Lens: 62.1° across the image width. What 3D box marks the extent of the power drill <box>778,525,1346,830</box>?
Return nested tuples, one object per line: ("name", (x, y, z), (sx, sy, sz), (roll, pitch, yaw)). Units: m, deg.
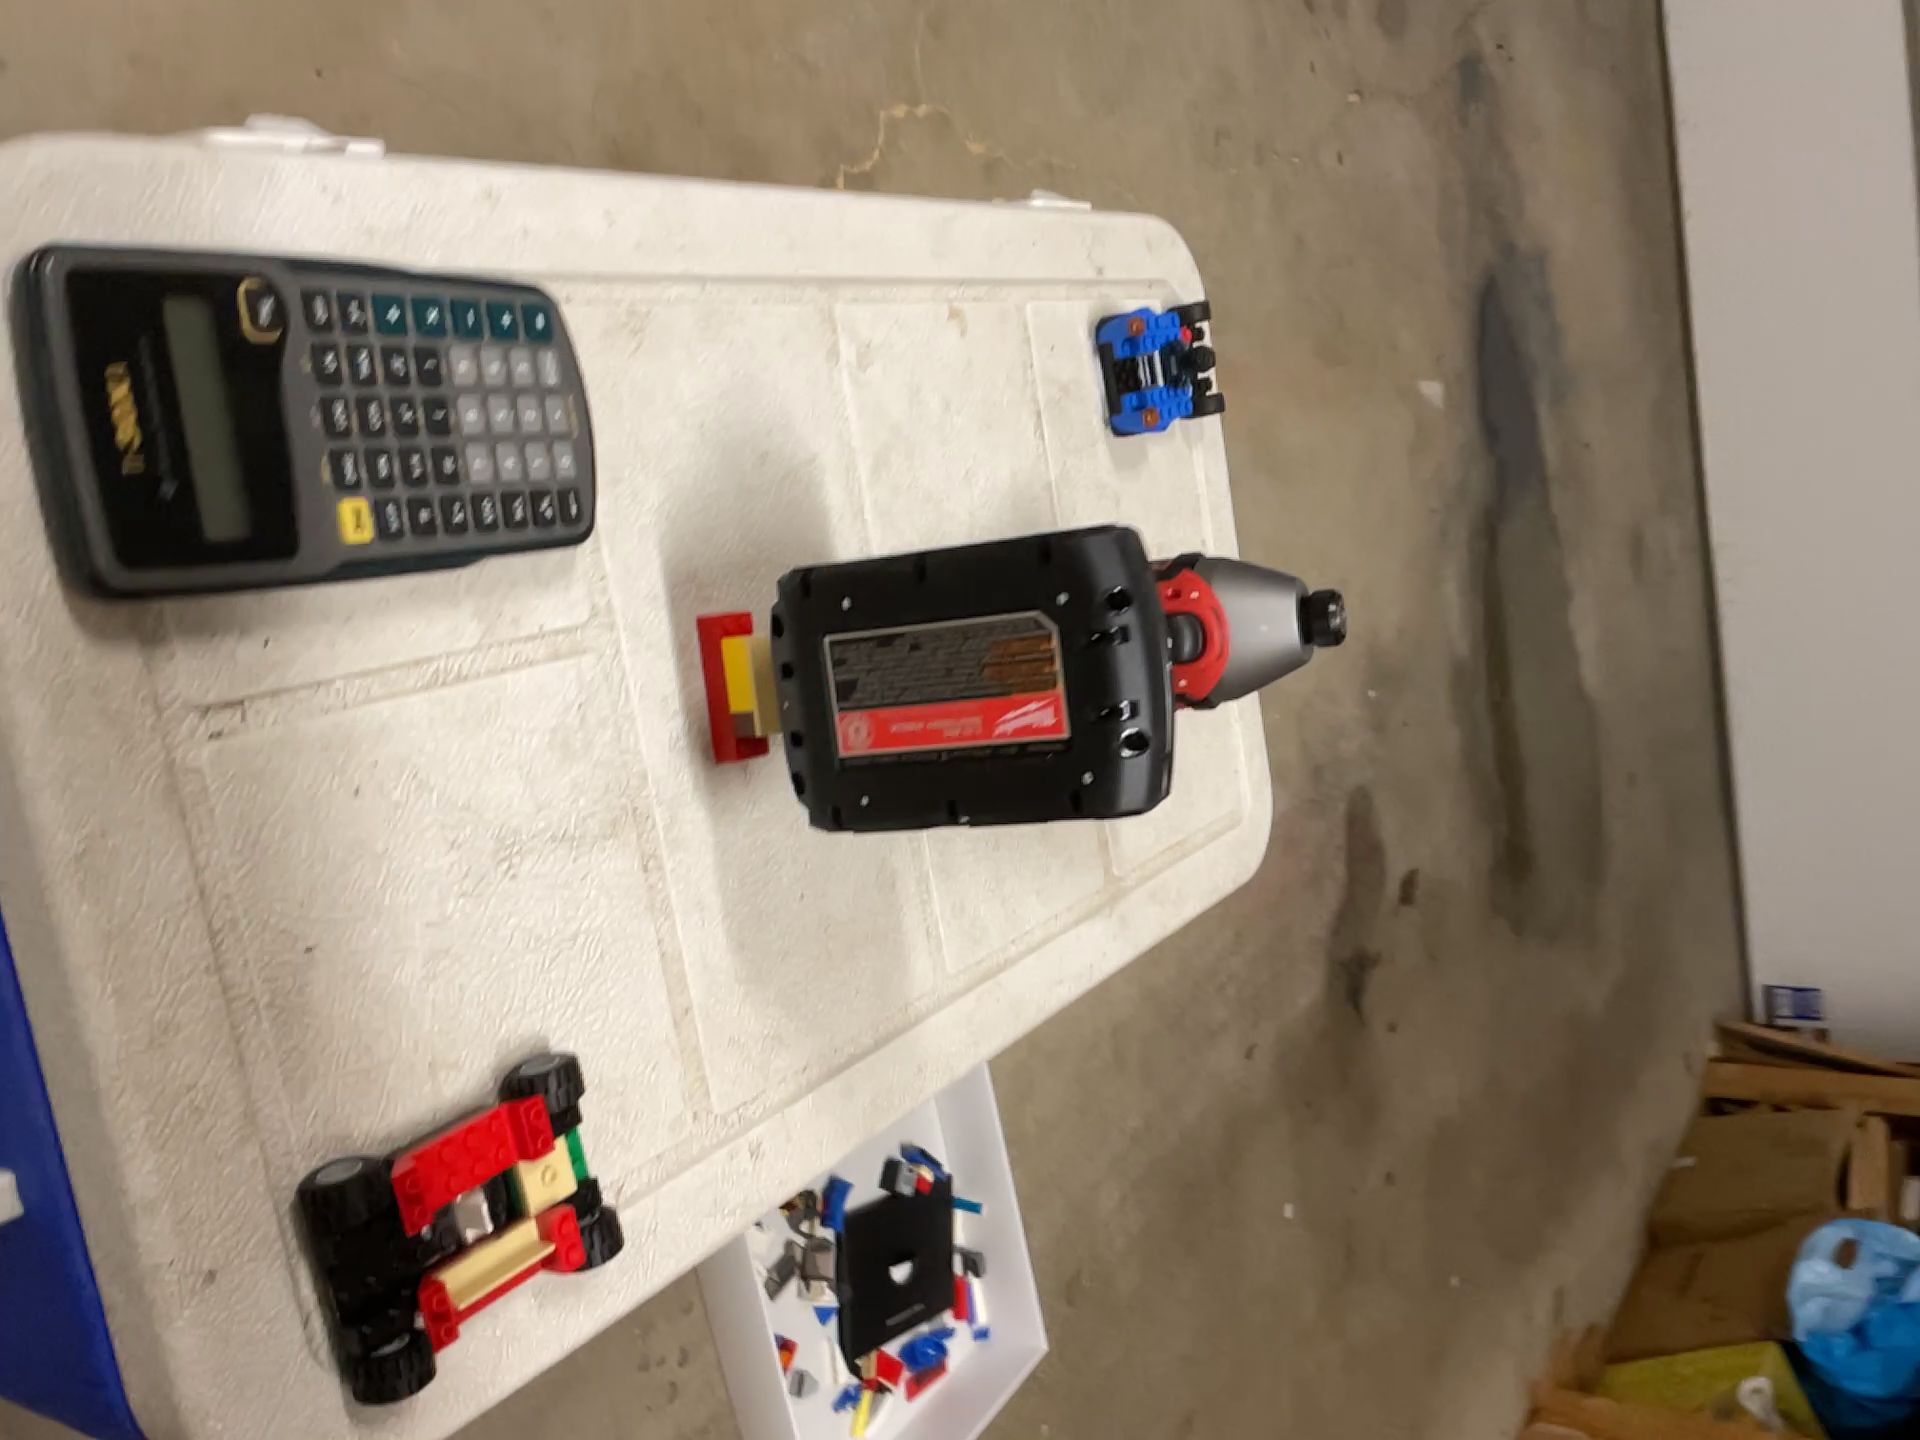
("power drill", (0.044, -0.023, 0.541), (0.220, 0.143, 0.078), (-18, 102, -66))
